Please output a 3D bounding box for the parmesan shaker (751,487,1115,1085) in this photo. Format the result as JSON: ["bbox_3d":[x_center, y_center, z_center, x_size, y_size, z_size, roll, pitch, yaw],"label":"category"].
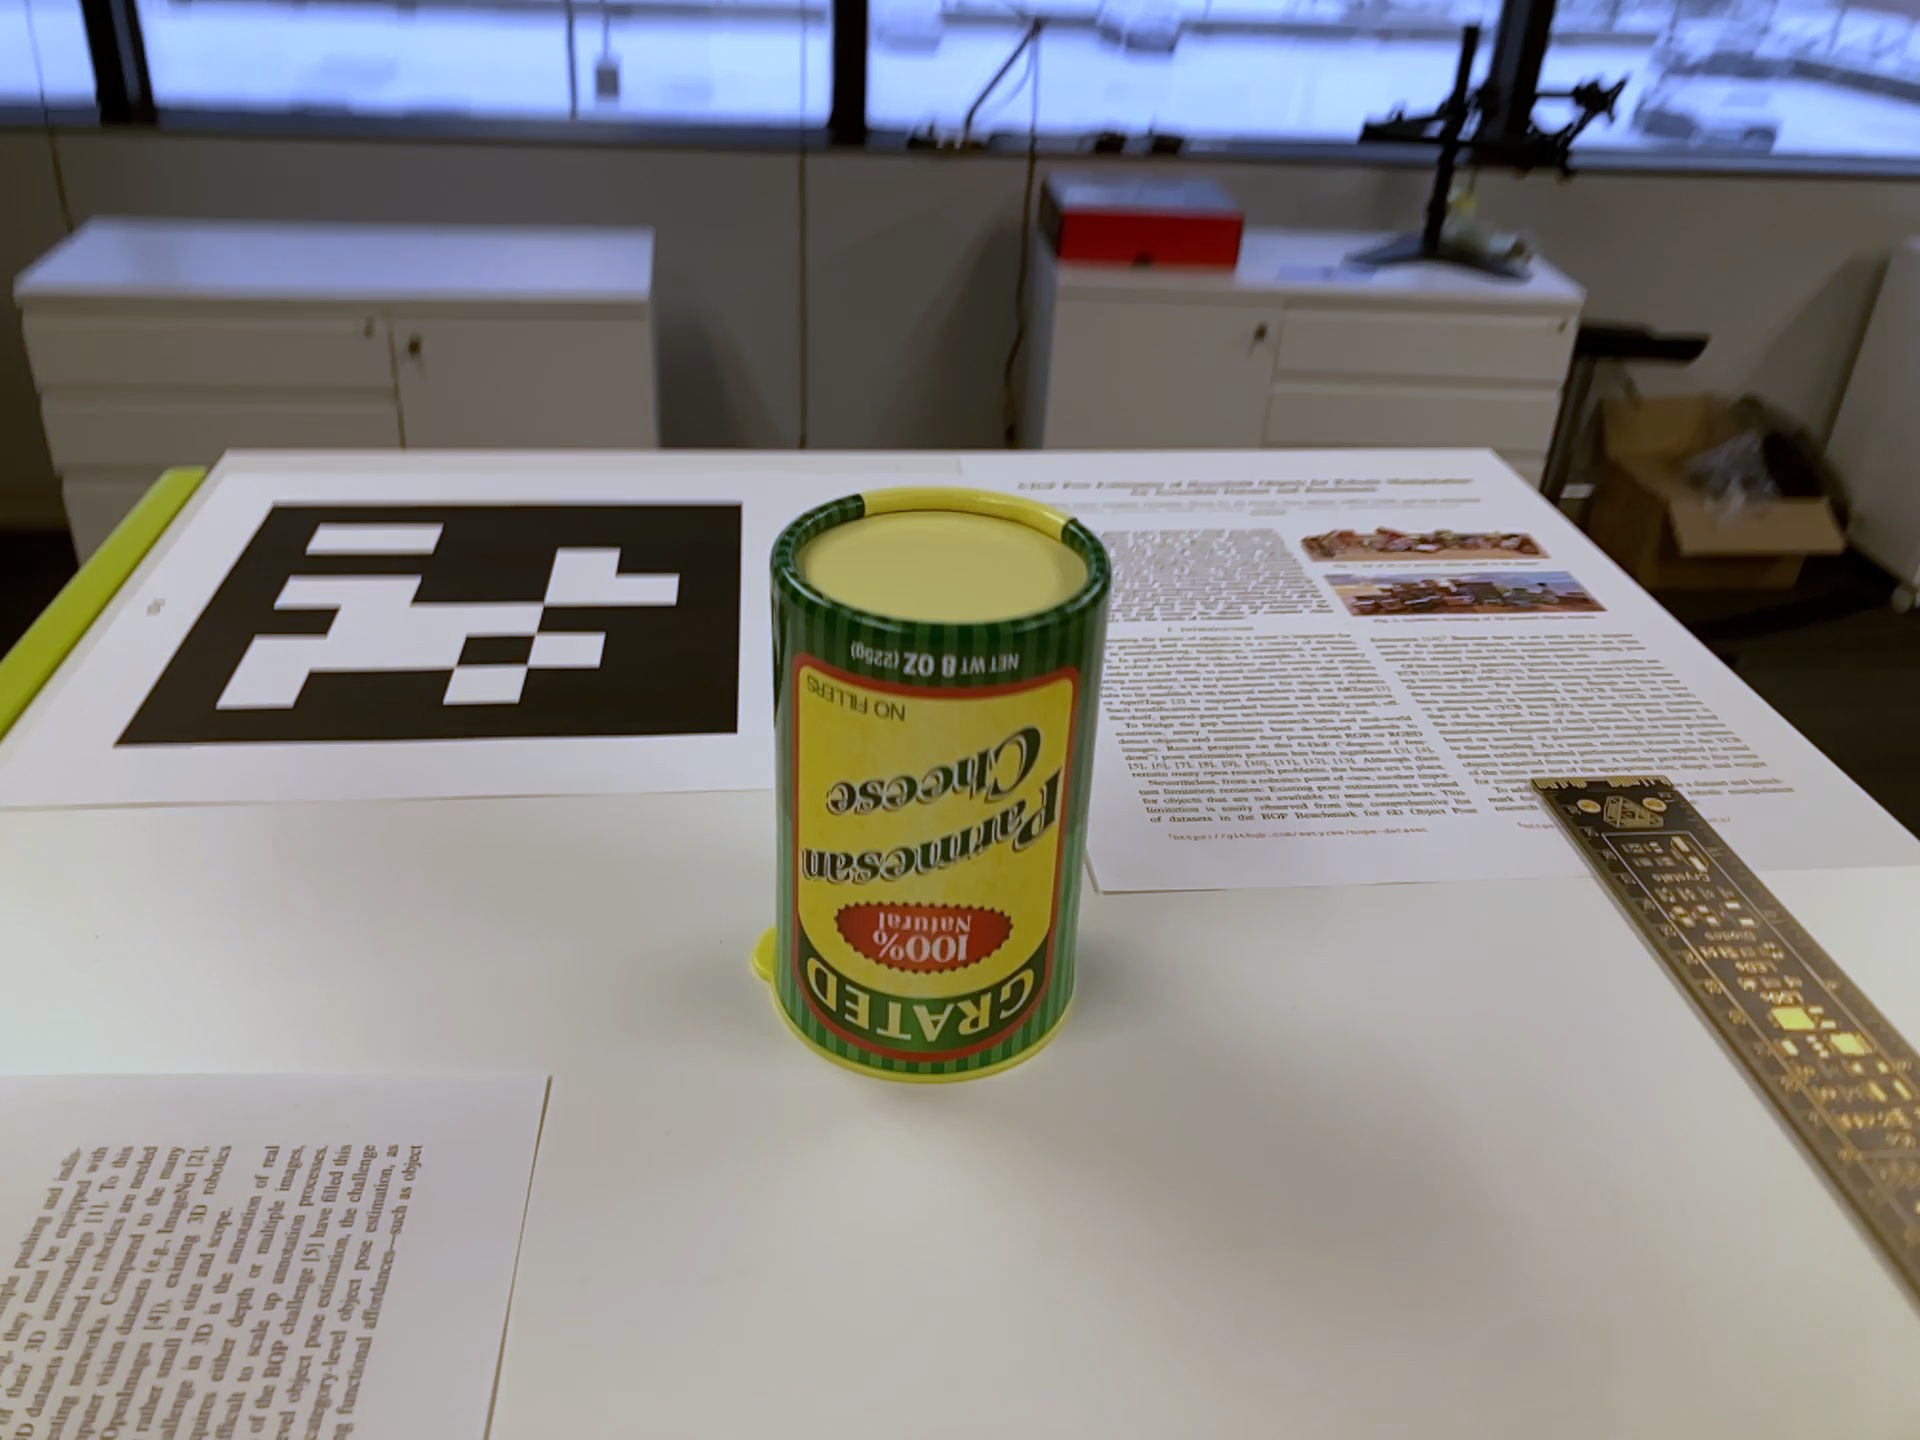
[{"bbox_3d":[-0.009,0.012,0.321,0.071,0.103,0.071,2,30,-1],"label":"parmesan shaker"}]
